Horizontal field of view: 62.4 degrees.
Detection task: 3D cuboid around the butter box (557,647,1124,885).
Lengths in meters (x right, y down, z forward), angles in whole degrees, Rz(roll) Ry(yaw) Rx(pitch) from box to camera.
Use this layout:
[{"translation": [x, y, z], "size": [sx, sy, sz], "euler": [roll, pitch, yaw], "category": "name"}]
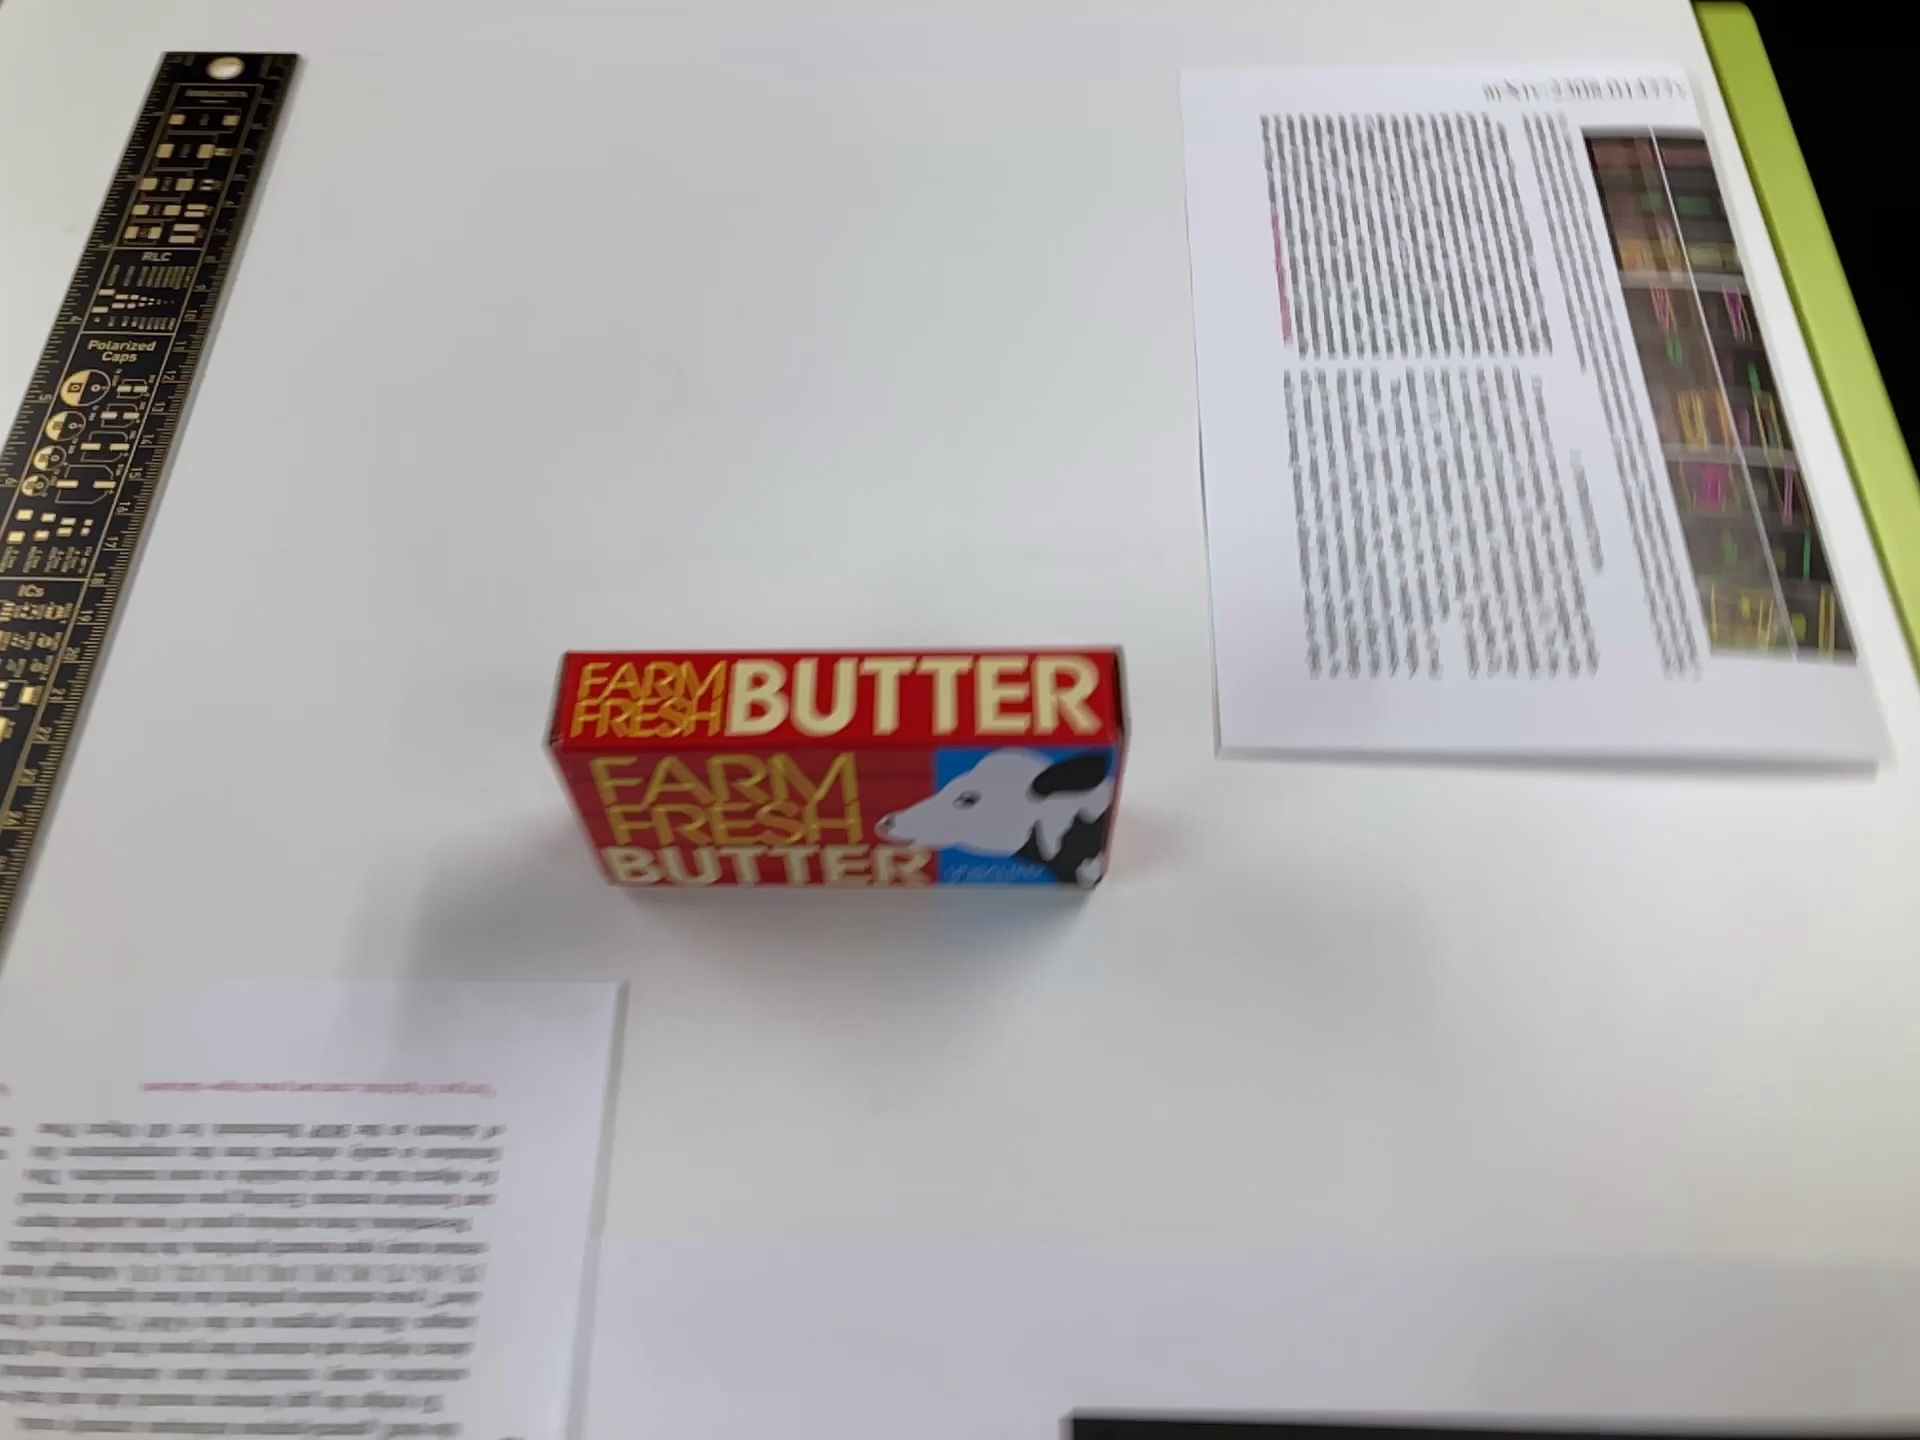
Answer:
[{"translation": [-0.021, 0.010, 0.310], "size": [0.103, 0.053, 0.024], "euler": [0, 55, 0], "category": "butter box"}]
